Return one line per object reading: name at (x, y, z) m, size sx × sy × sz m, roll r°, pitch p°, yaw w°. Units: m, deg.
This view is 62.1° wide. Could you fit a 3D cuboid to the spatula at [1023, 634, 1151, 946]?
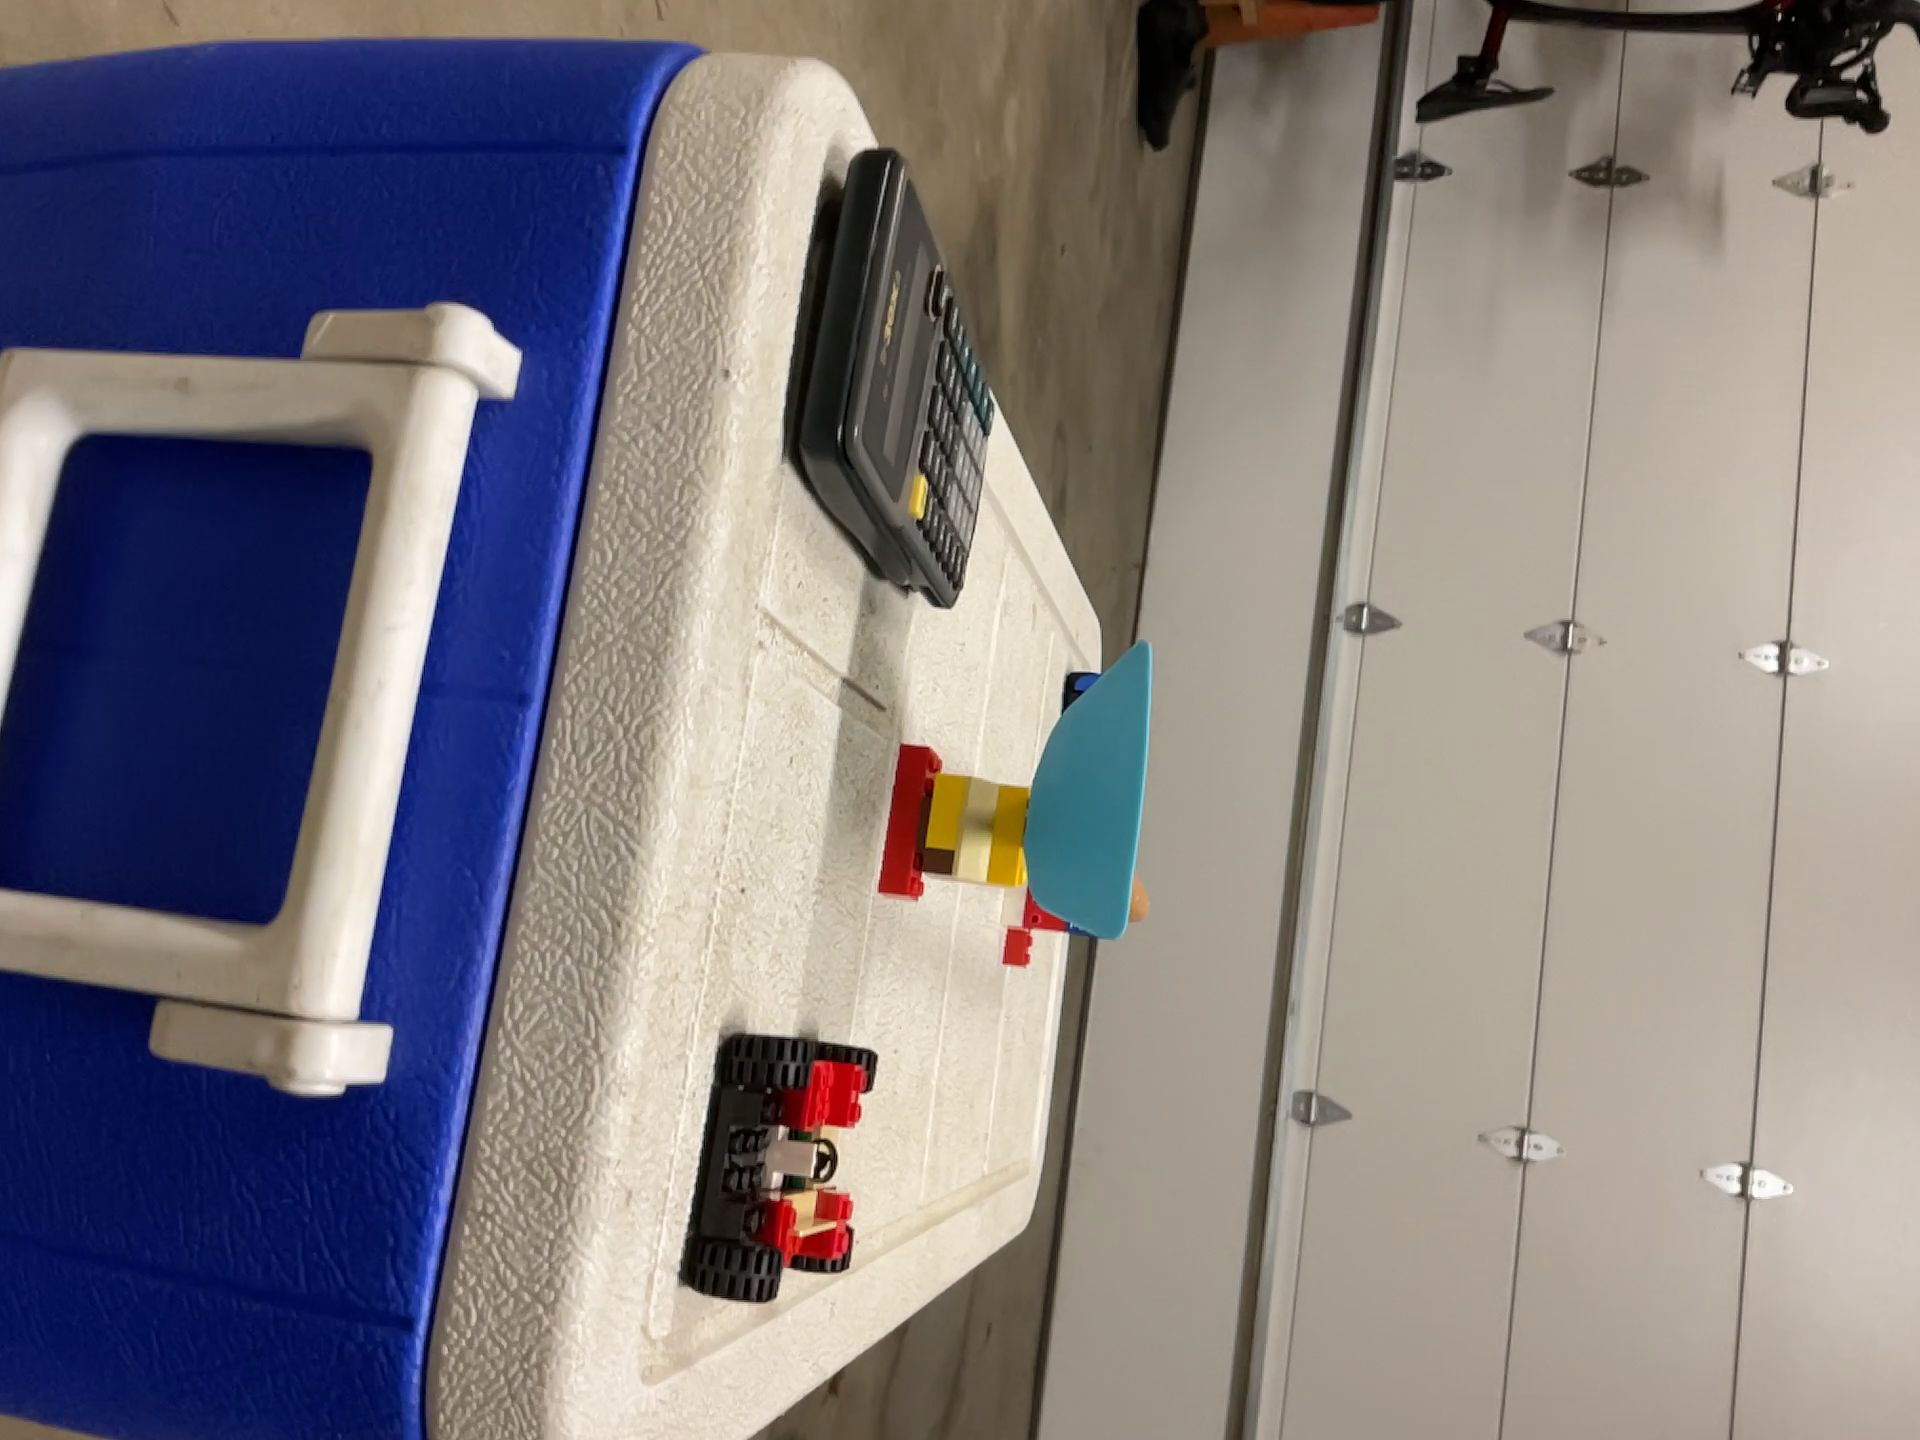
spatula at (0.056, 0.050, 0.561) m, size 0.317 × 0.044 × 0.082 m, roll 49°, pitch 45°, yaw -73°
